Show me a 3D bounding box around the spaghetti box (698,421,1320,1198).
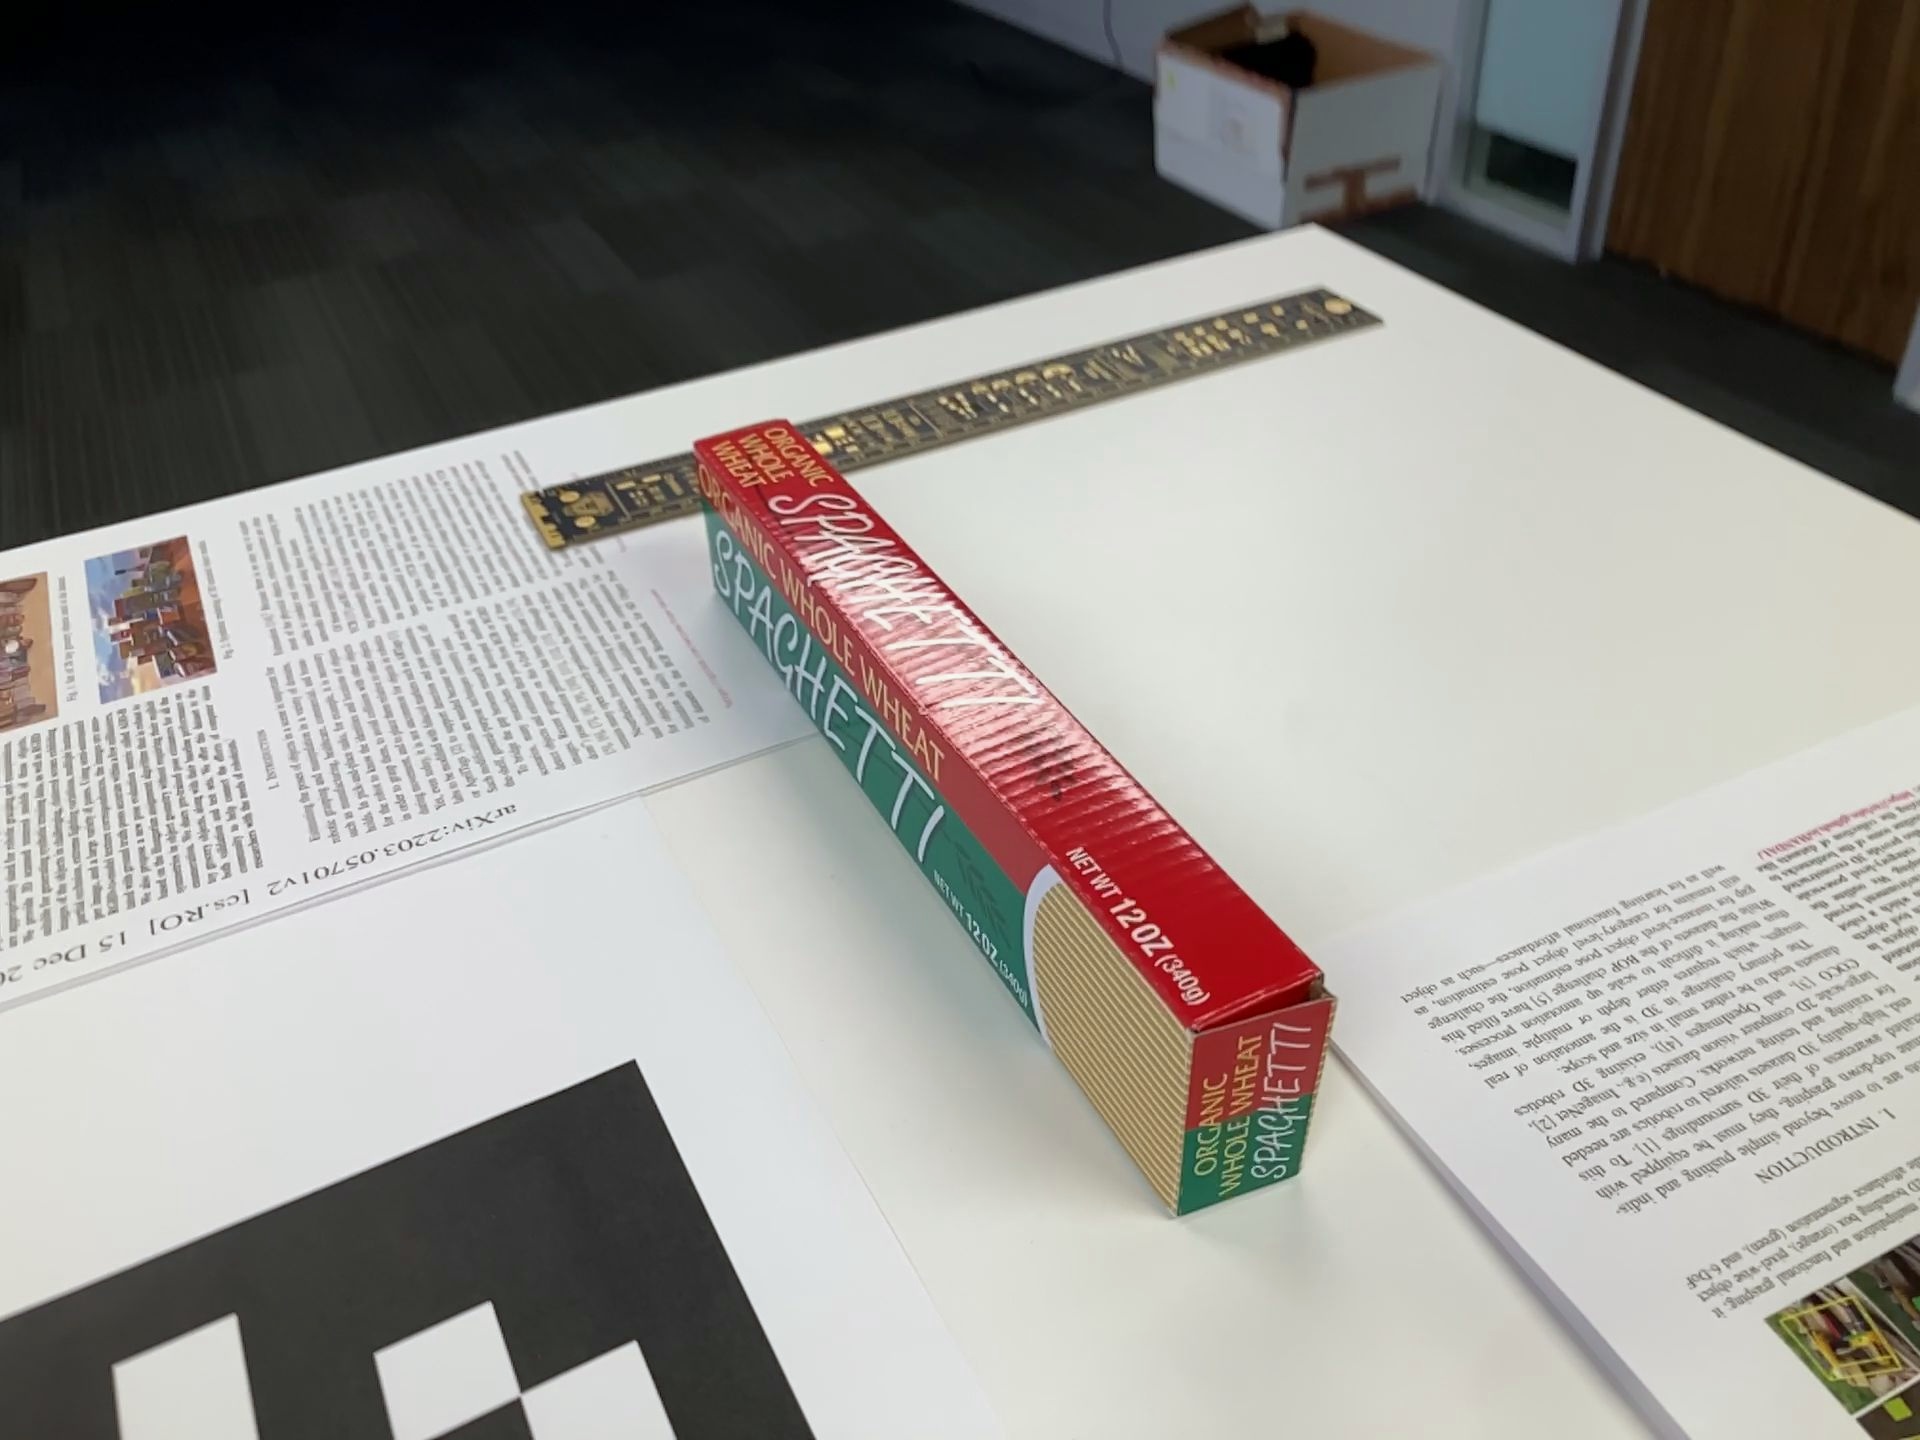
[{"bbox_3d":[-0.006,0.001,0.371,0.028,0.050,0.250,-17,39,-21],"label":"spaghetti box"}]
